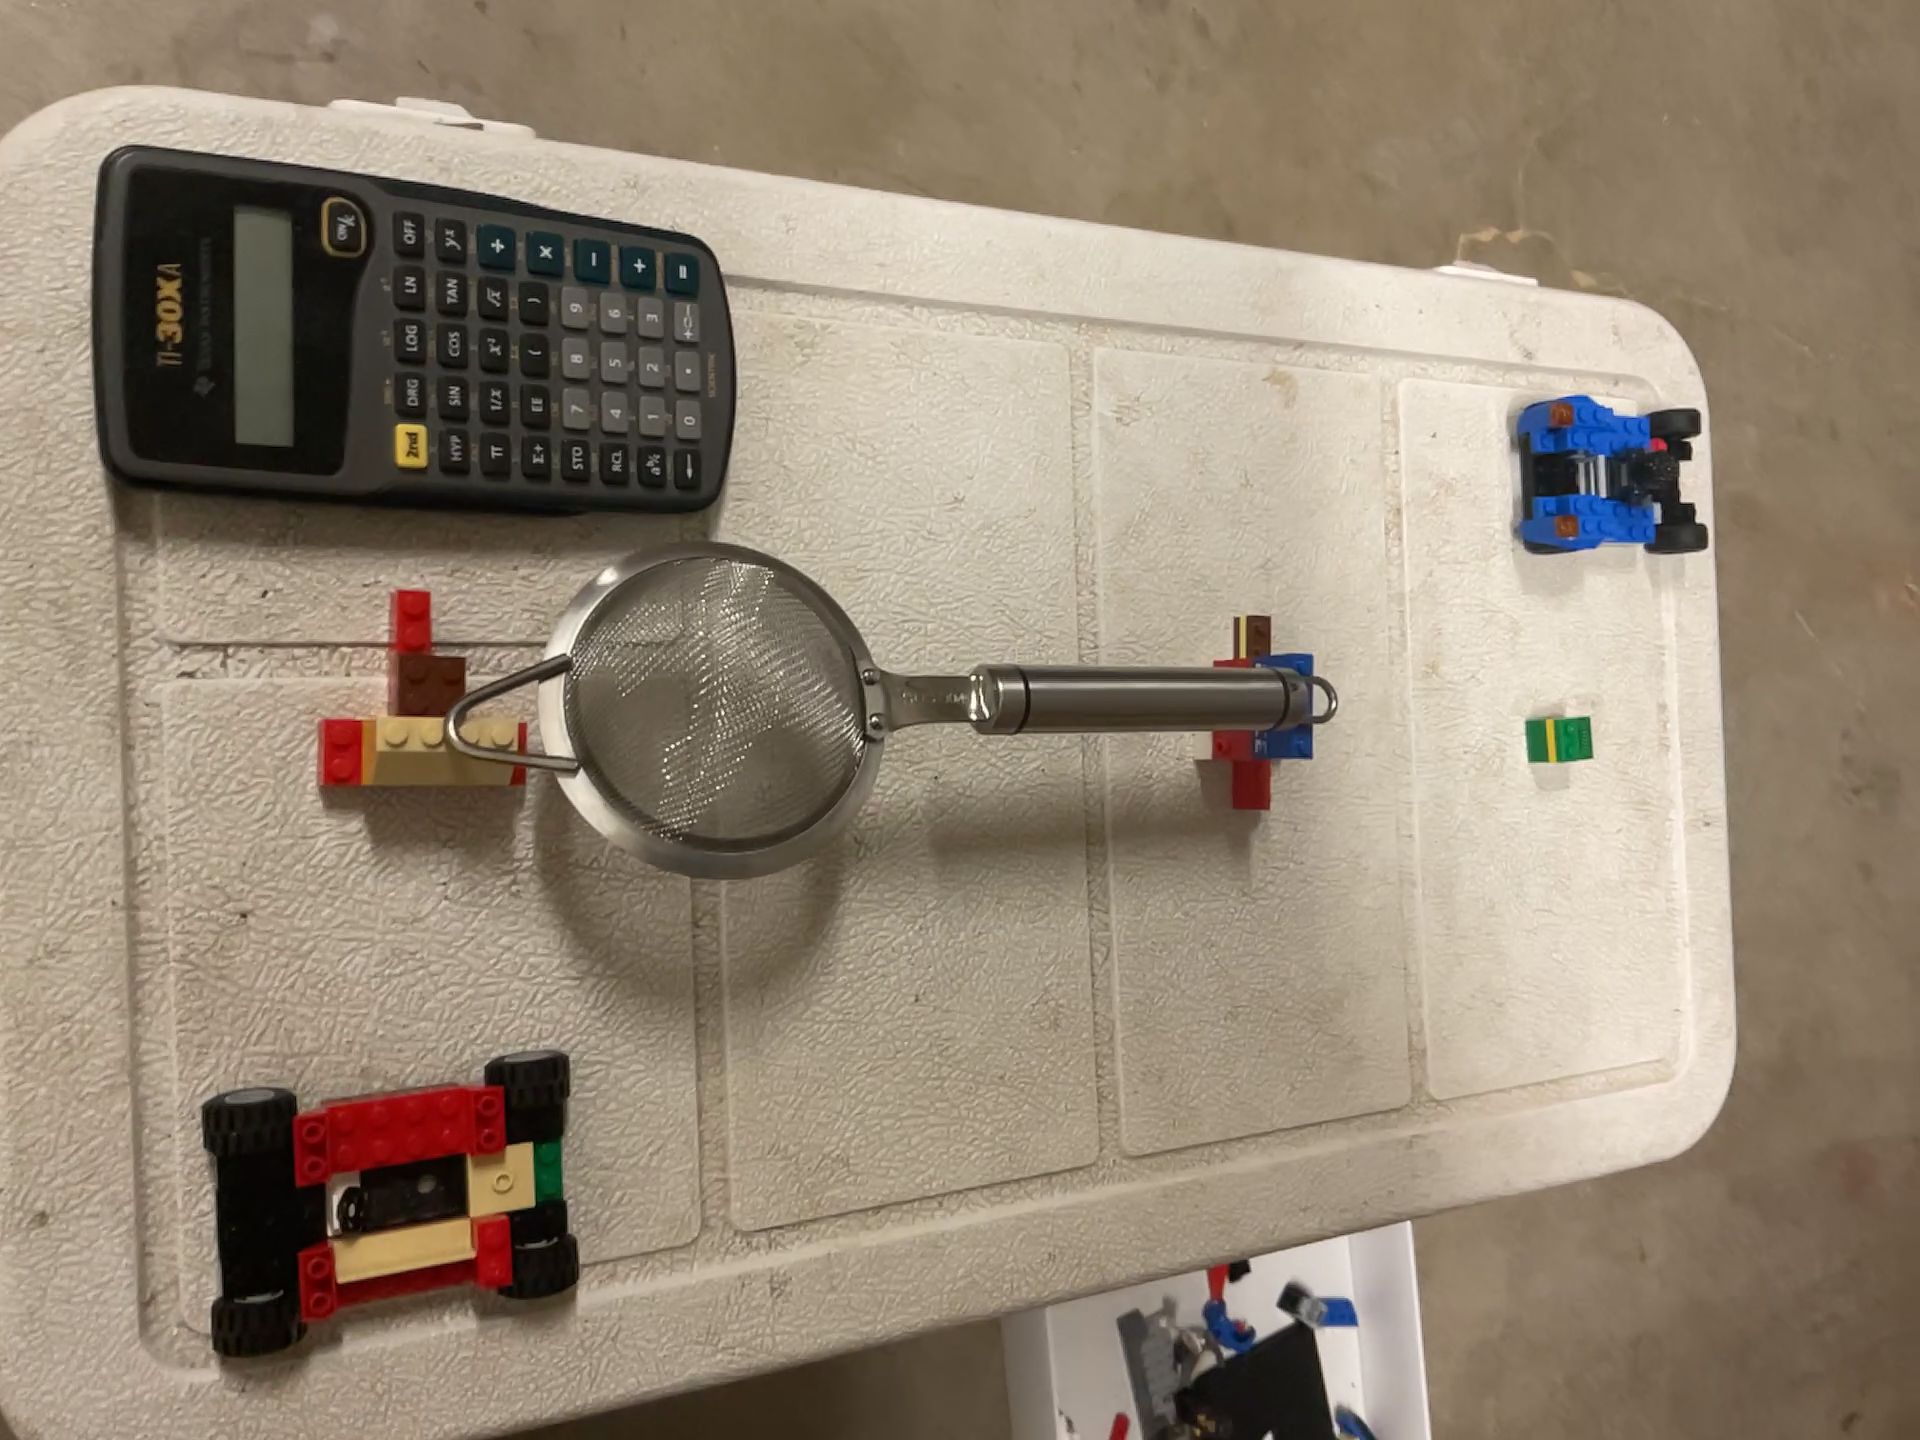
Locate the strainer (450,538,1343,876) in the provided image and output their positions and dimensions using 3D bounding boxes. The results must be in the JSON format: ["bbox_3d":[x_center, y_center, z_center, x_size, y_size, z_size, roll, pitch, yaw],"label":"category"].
[{"bbox_3d":[0.004,-0.008,0.416,0.258,0.050,0.087,0,72,-31],"label":"strainer"}]
